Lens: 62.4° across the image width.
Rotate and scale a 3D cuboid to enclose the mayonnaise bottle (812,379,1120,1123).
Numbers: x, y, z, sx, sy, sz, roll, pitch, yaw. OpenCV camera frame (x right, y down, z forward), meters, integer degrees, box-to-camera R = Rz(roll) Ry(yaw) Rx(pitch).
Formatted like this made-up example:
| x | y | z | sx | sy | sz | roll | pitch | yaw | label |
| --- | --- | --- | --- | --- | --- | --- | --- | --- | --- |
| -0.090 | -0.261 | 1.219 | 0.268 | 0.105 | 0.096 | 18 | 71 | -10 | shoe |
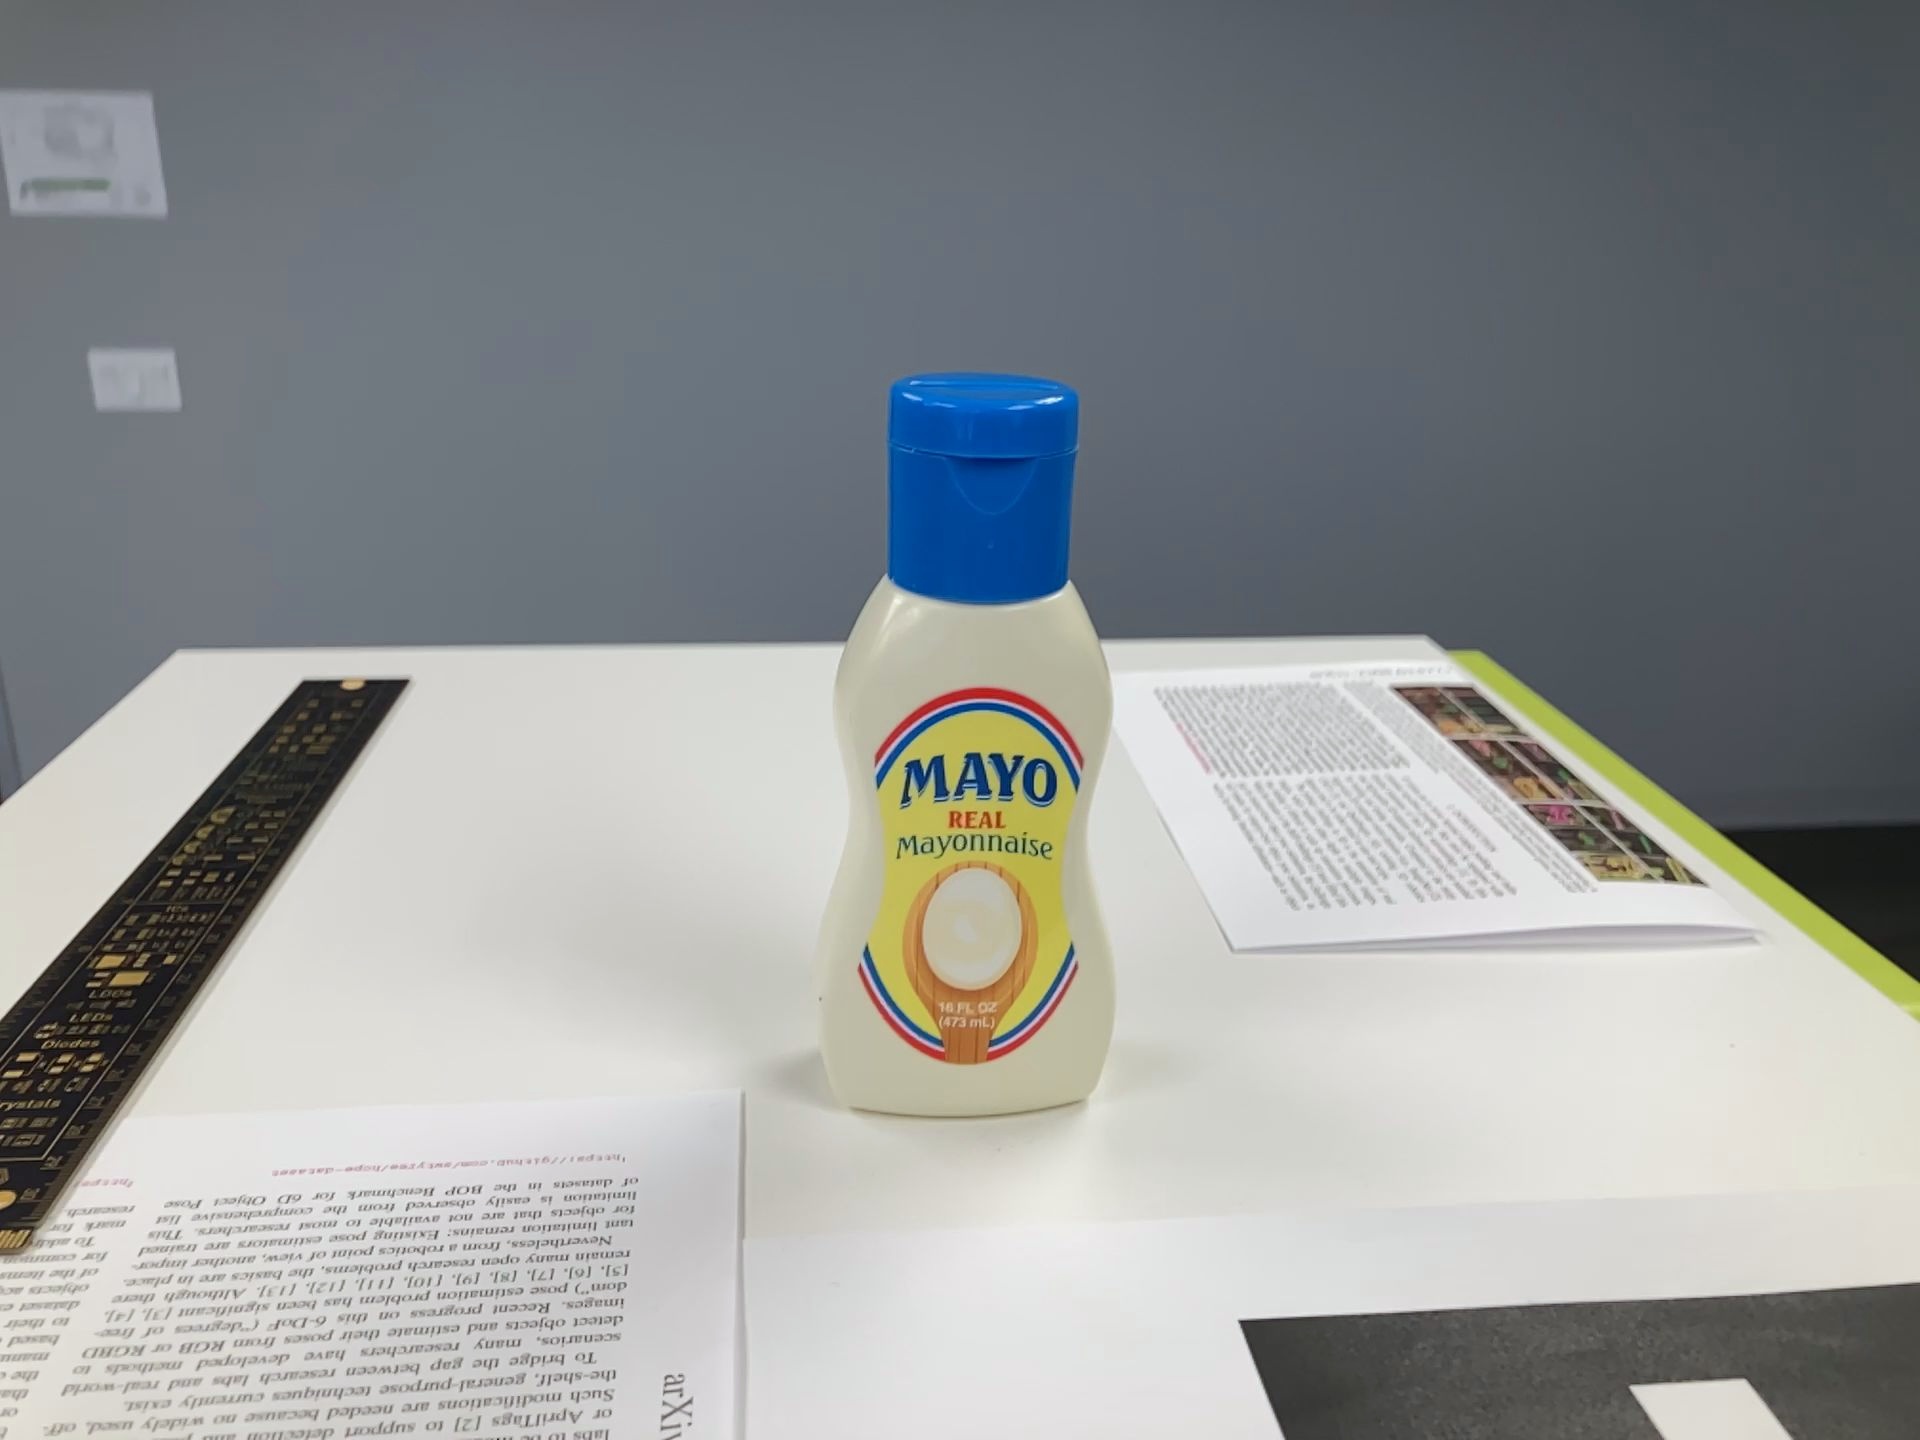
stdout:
| x | y | z | sx | sy | sz | roll | pitch | yaw | label |
| --- | --- | --- | --- | --- | --- | --- | --- | --- | --- |
| 0.002 | 0.008 | 0.319 | 0.065 | 0.148 | 0.041 | -1 | 20 | -6 | mayonnaise bottle |
